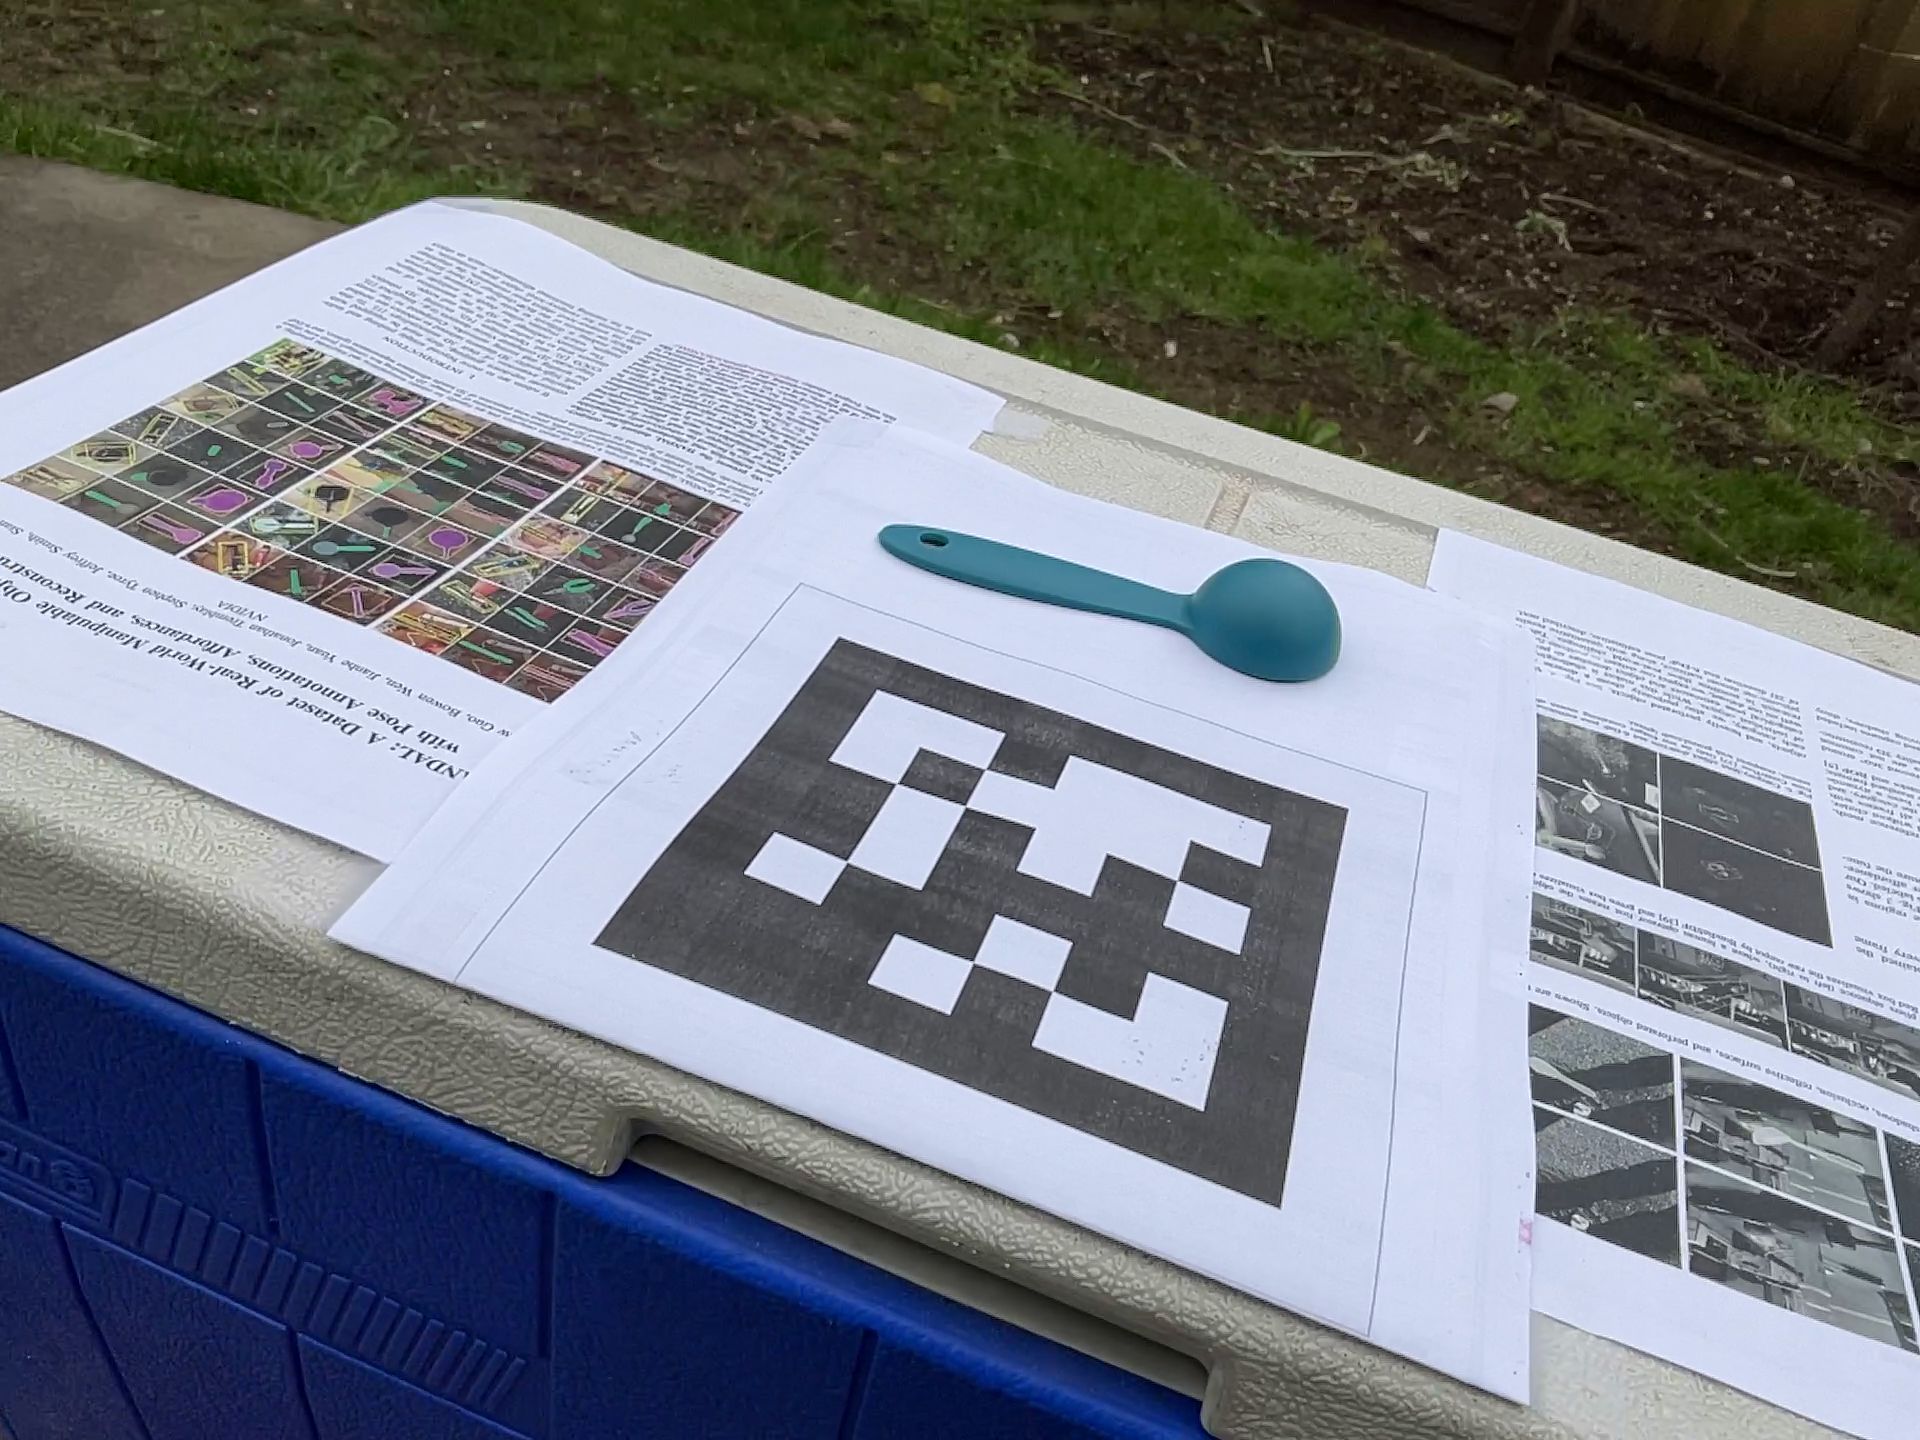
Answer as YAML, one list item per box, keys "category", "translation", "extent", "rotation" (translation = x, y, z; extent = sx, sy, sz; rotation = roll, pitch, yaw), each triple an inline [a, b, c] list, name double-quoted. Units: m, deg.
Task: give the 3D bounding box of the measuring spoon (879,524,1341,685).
- category: "measuring spoon"
  translation: [0.041, -0.041, 0.431]
  extent: [0.128, 0.021, 0.042]
  rotation: [14, 41, 2]
